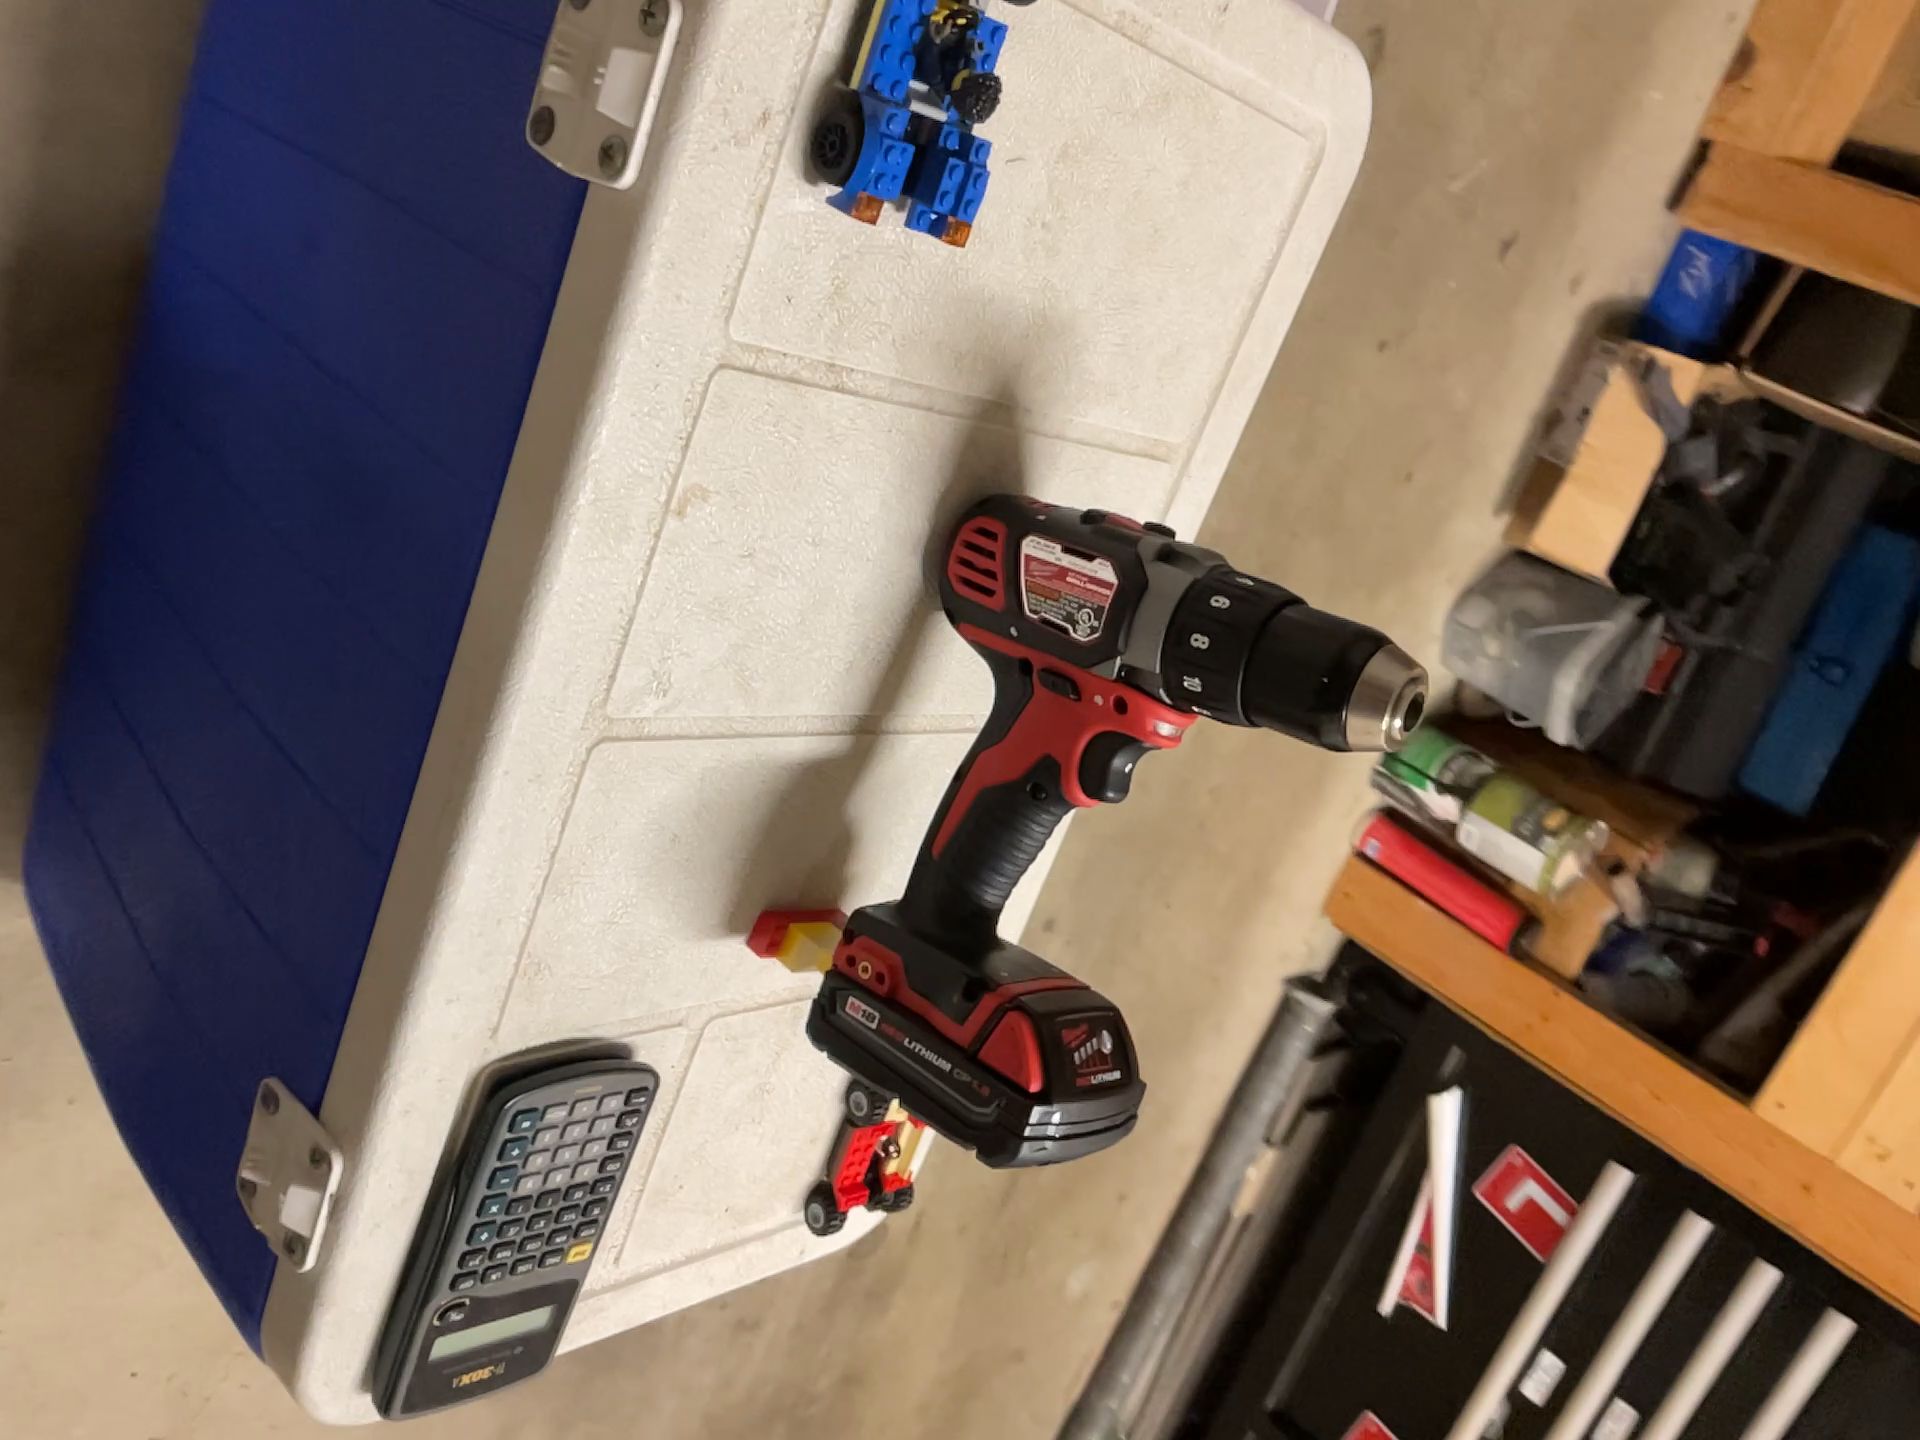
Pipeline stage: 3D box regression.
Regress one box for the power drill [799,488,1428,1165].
[{"bbox_3d":[0.049,0.041,0.572,0.080,0.188,0.226,8,103,-54],"label":"power drill"}]
